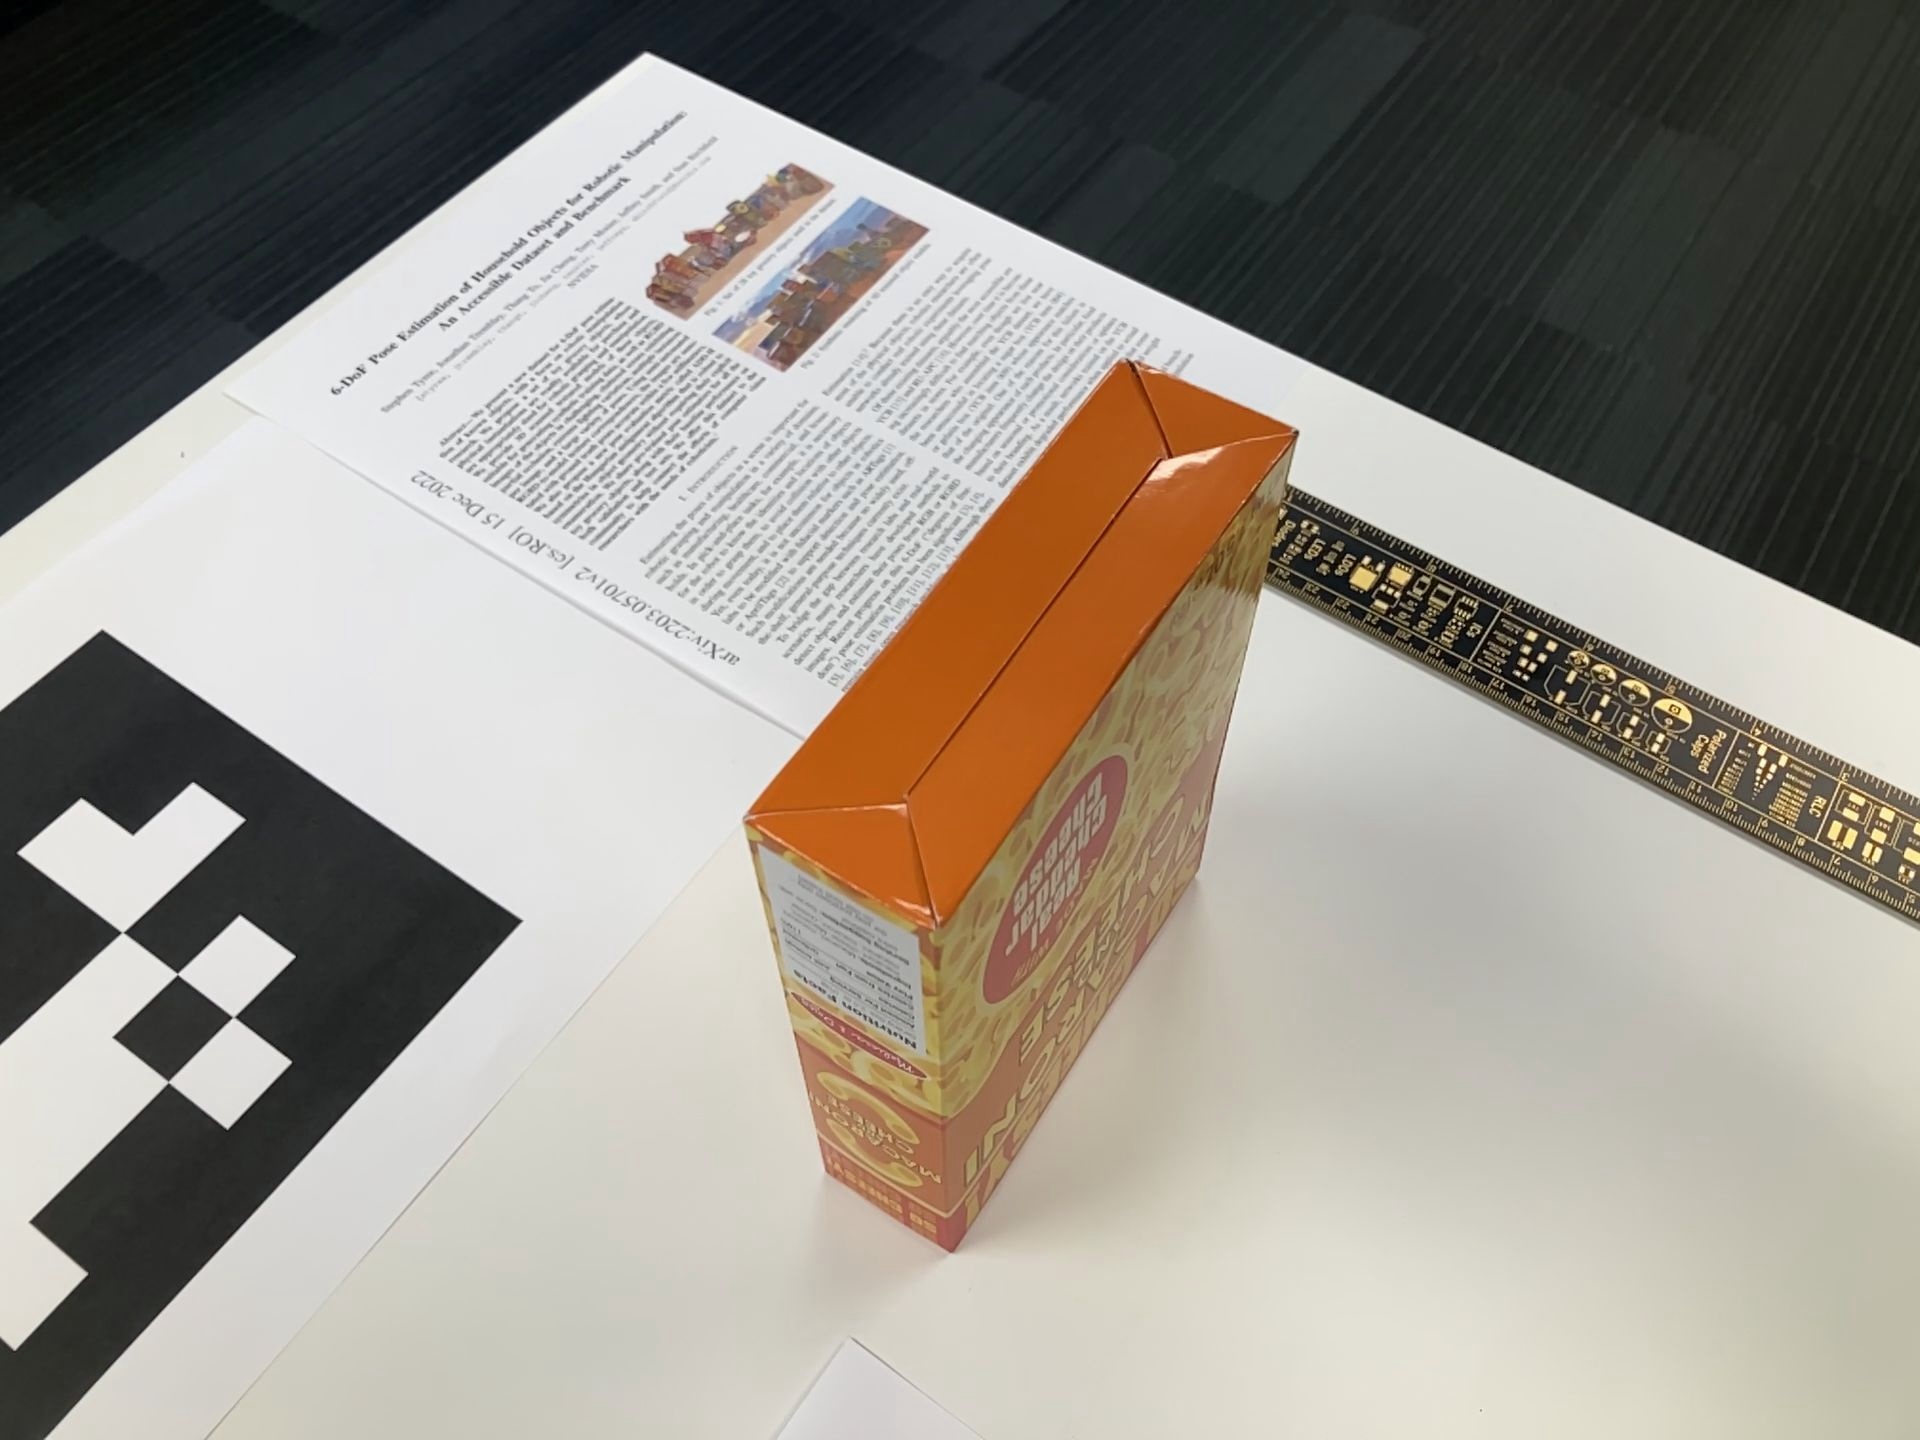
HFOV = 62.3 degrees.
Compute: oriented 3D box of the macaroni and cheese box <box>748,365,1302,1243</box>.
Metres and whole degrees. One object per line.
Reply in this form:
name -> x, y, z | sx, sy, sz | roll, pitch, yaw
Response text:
macaroni and cheese box -> 0.016, 0.027, 0.340 | 0.040, 0.166, 0.124 | 29, 61, 19
